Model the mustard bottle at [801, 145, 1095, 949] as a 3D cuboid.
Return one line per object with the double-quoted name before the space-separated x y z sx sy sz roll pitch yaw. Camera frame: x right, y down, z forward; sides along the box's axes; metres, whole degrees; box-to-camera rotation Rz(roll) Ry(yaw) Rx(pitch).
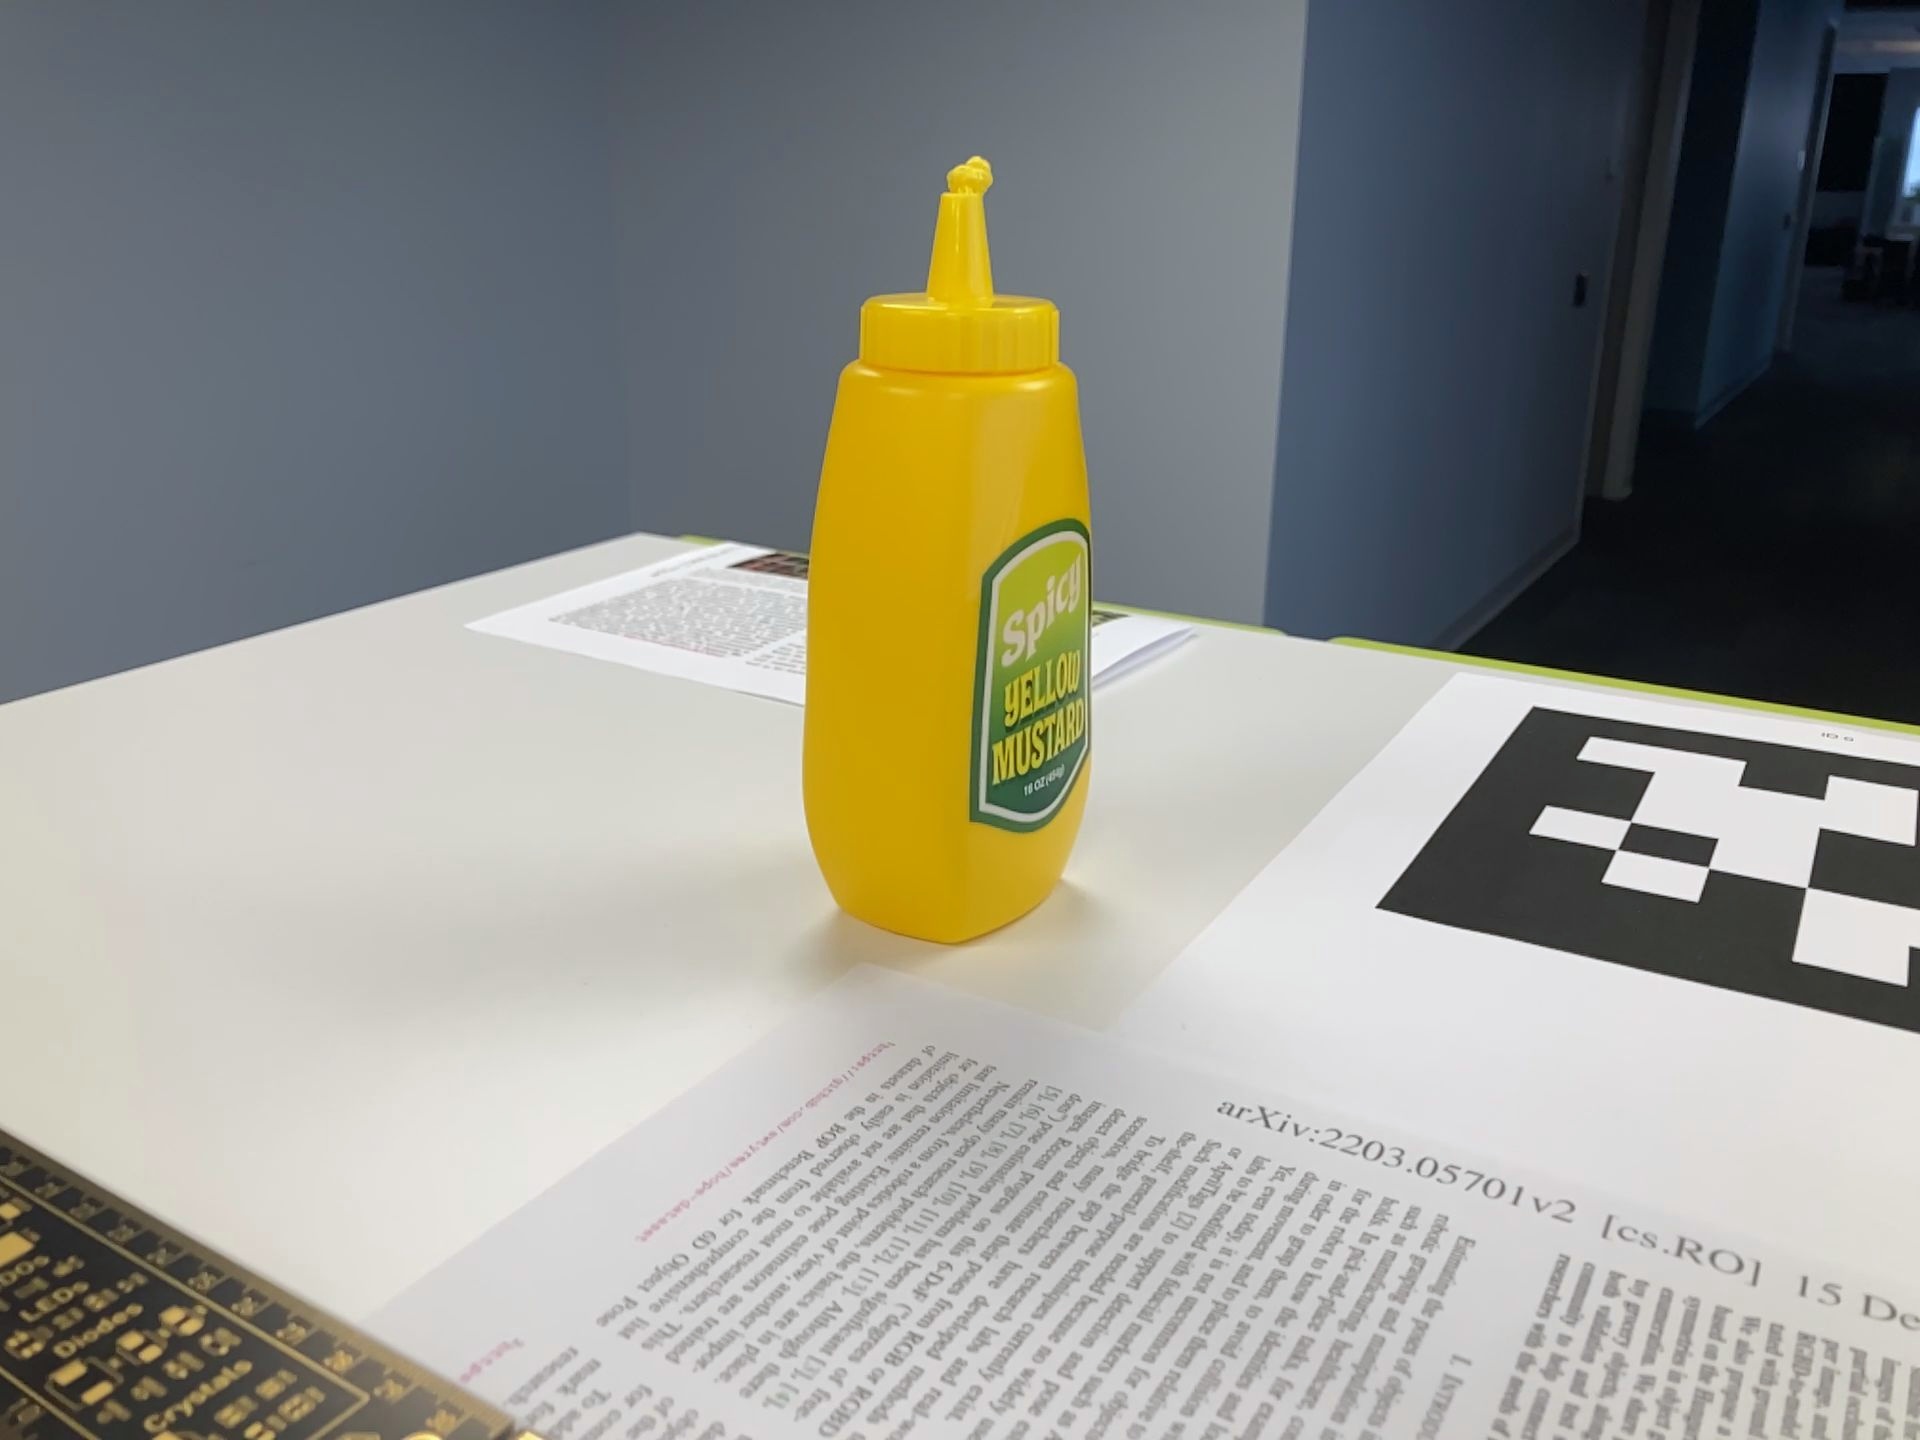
"mustard bottle" -0.001 -0.034 0.330 0.049 0.160 0.065 14 24 33
